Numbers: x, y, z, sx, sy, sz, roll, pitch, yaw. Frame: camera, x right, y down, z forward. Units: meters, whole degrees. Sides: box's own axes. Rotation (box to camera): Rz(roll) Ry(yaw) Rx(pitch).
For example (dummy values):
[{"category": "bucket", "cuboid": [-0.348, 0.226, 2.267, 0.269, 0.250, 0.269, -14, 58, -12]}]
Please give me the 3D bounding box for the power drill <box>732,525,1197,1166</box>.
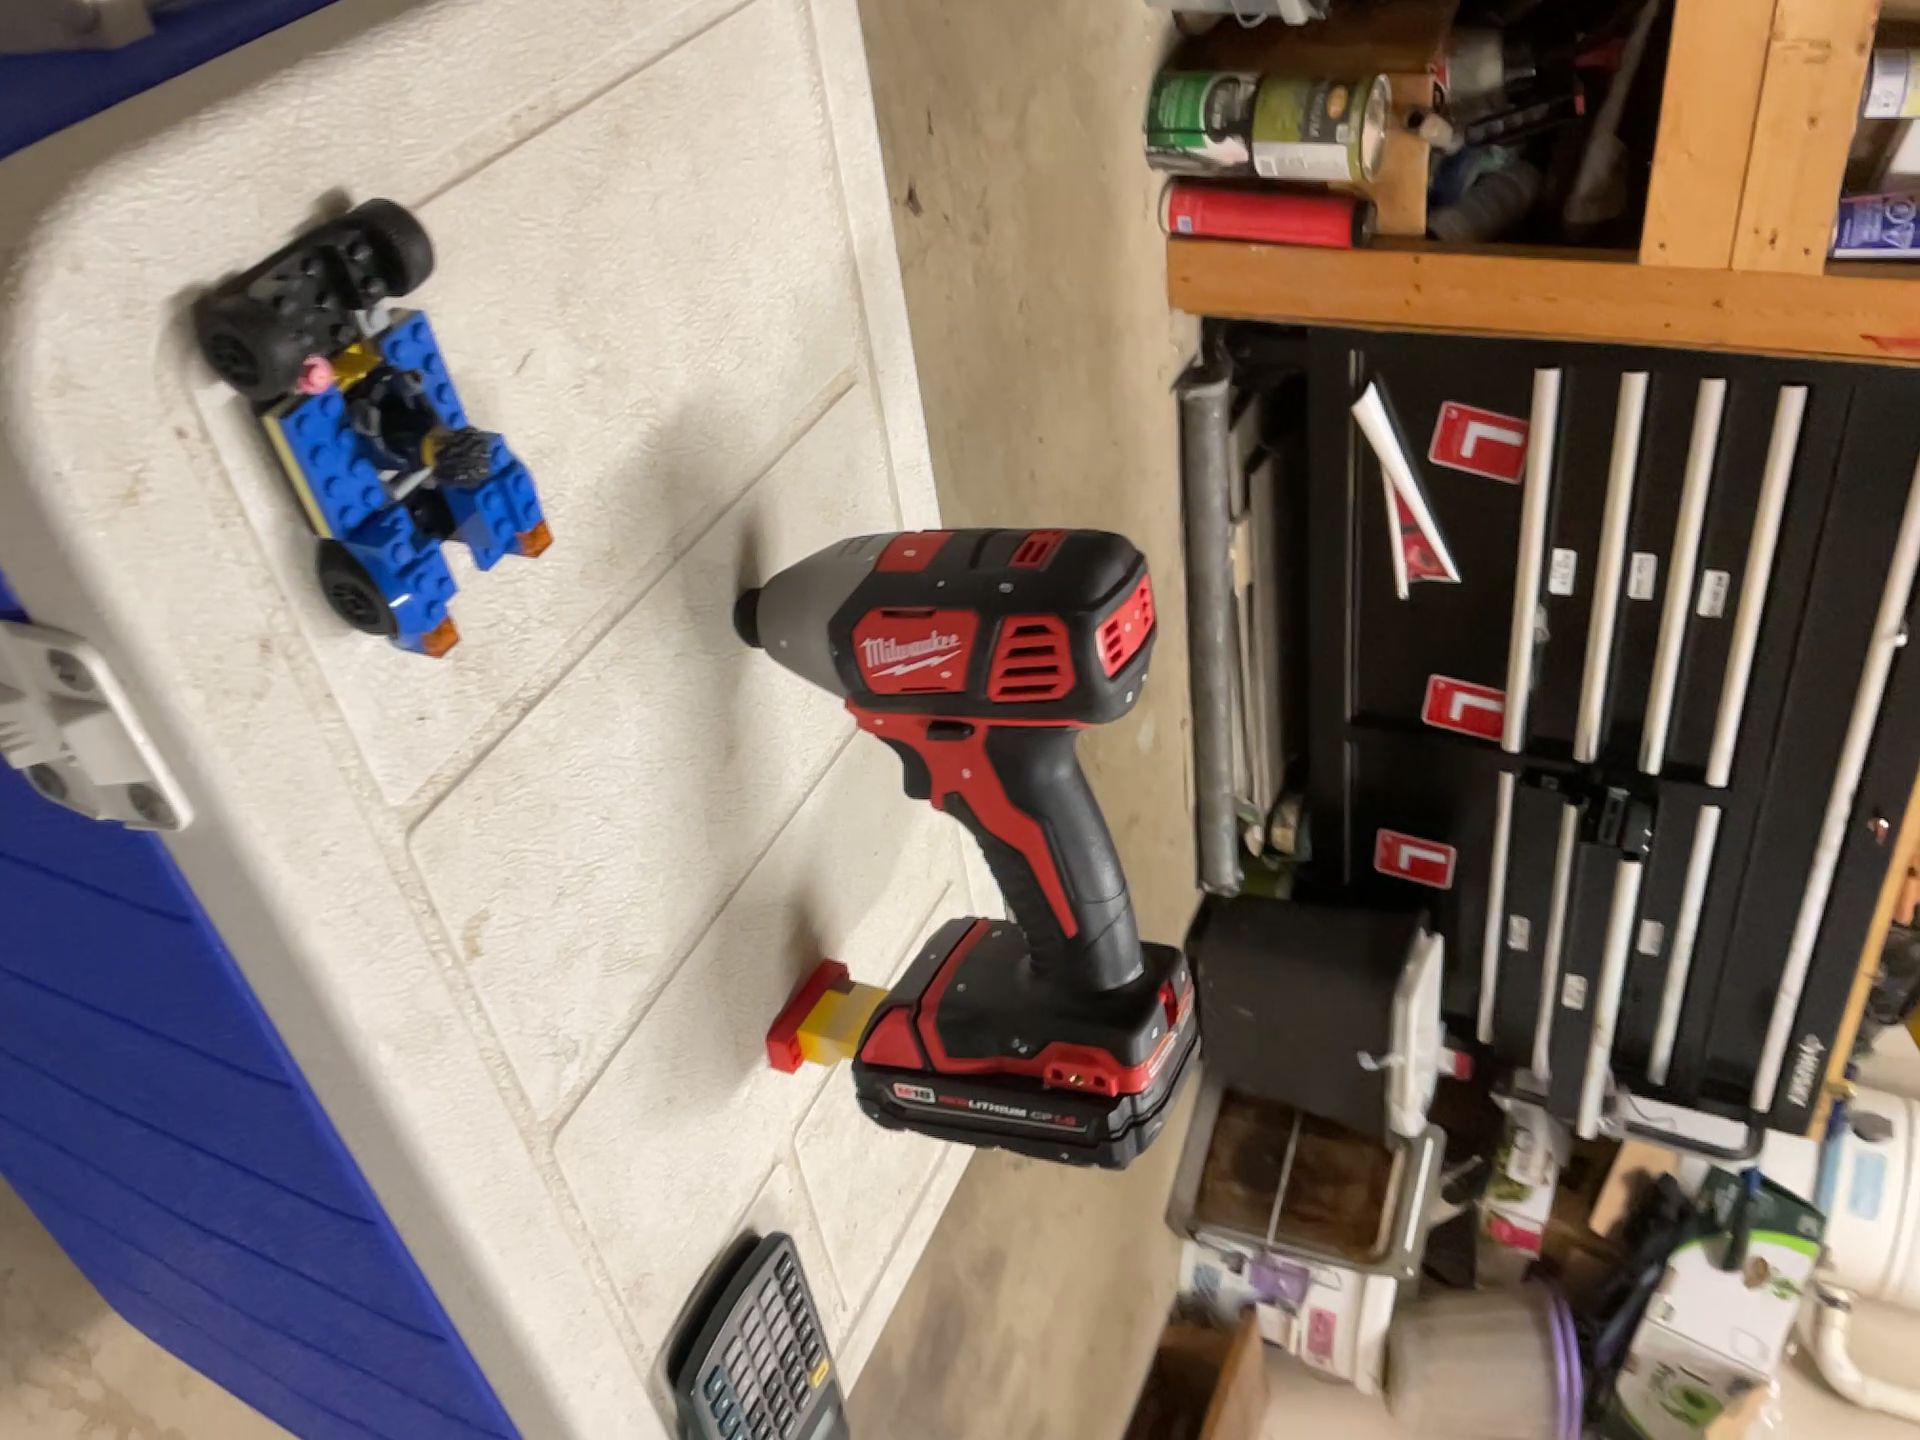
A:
[{"category": "power drill", "cuboid": [0.003, 0.038, 0.547, 0.079, 0.143, 0.219, -49, 135, -51]}]
